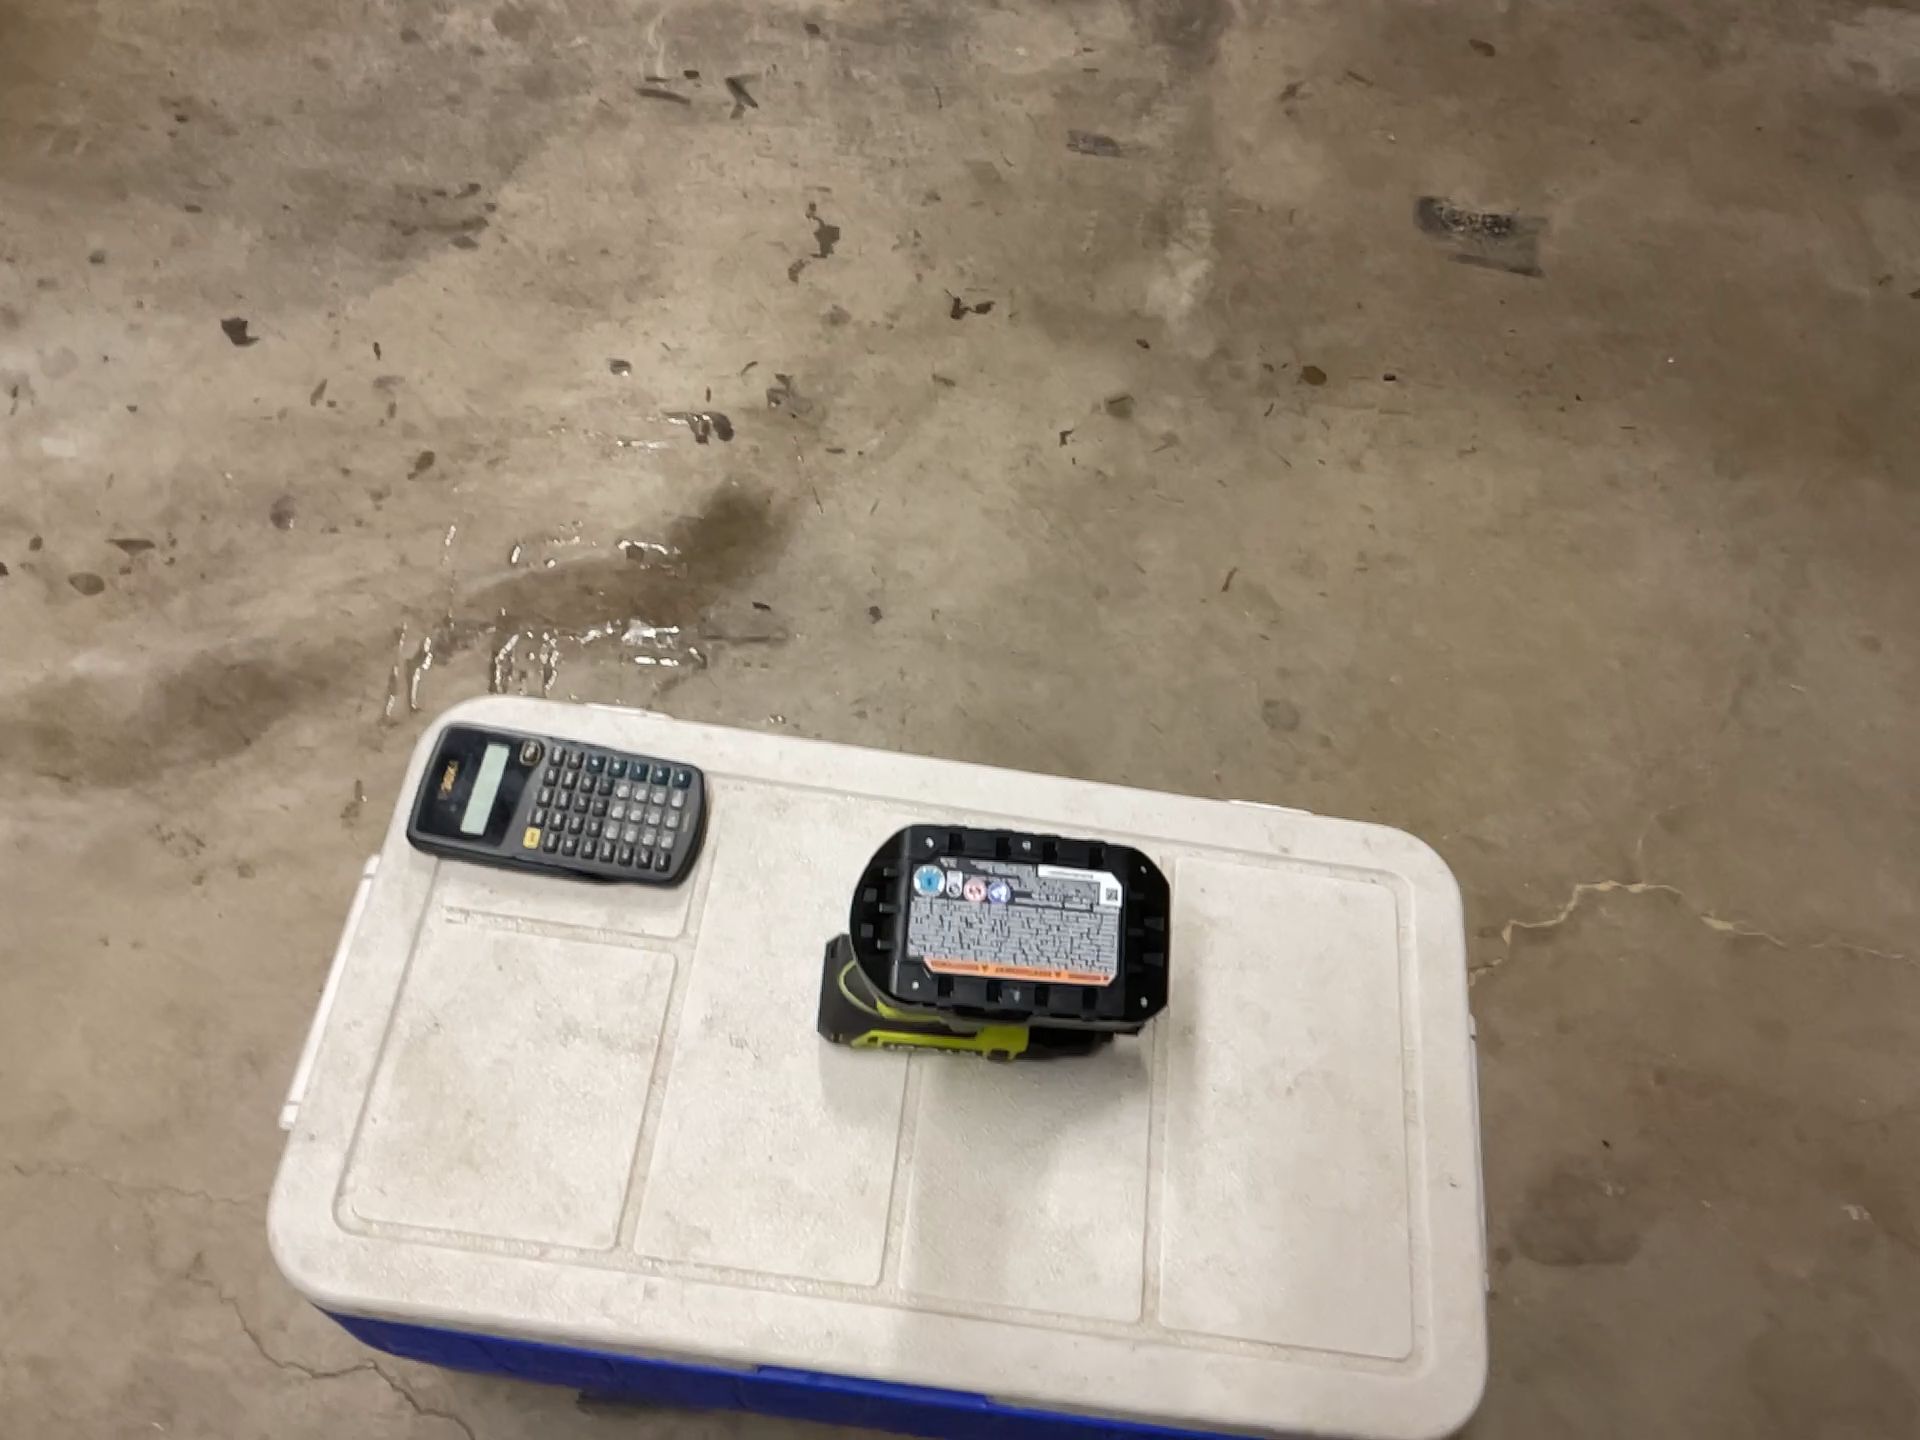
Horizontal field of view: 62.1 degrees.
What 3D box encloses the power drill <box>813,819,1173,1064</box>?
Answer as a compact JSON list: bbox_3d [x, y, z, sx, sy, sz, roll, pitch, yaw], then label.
[{"bbox_3d":[0.020,0.118,0.752,0.171,0.223,0.080,6,70,-4],"label":"power drill"}]
